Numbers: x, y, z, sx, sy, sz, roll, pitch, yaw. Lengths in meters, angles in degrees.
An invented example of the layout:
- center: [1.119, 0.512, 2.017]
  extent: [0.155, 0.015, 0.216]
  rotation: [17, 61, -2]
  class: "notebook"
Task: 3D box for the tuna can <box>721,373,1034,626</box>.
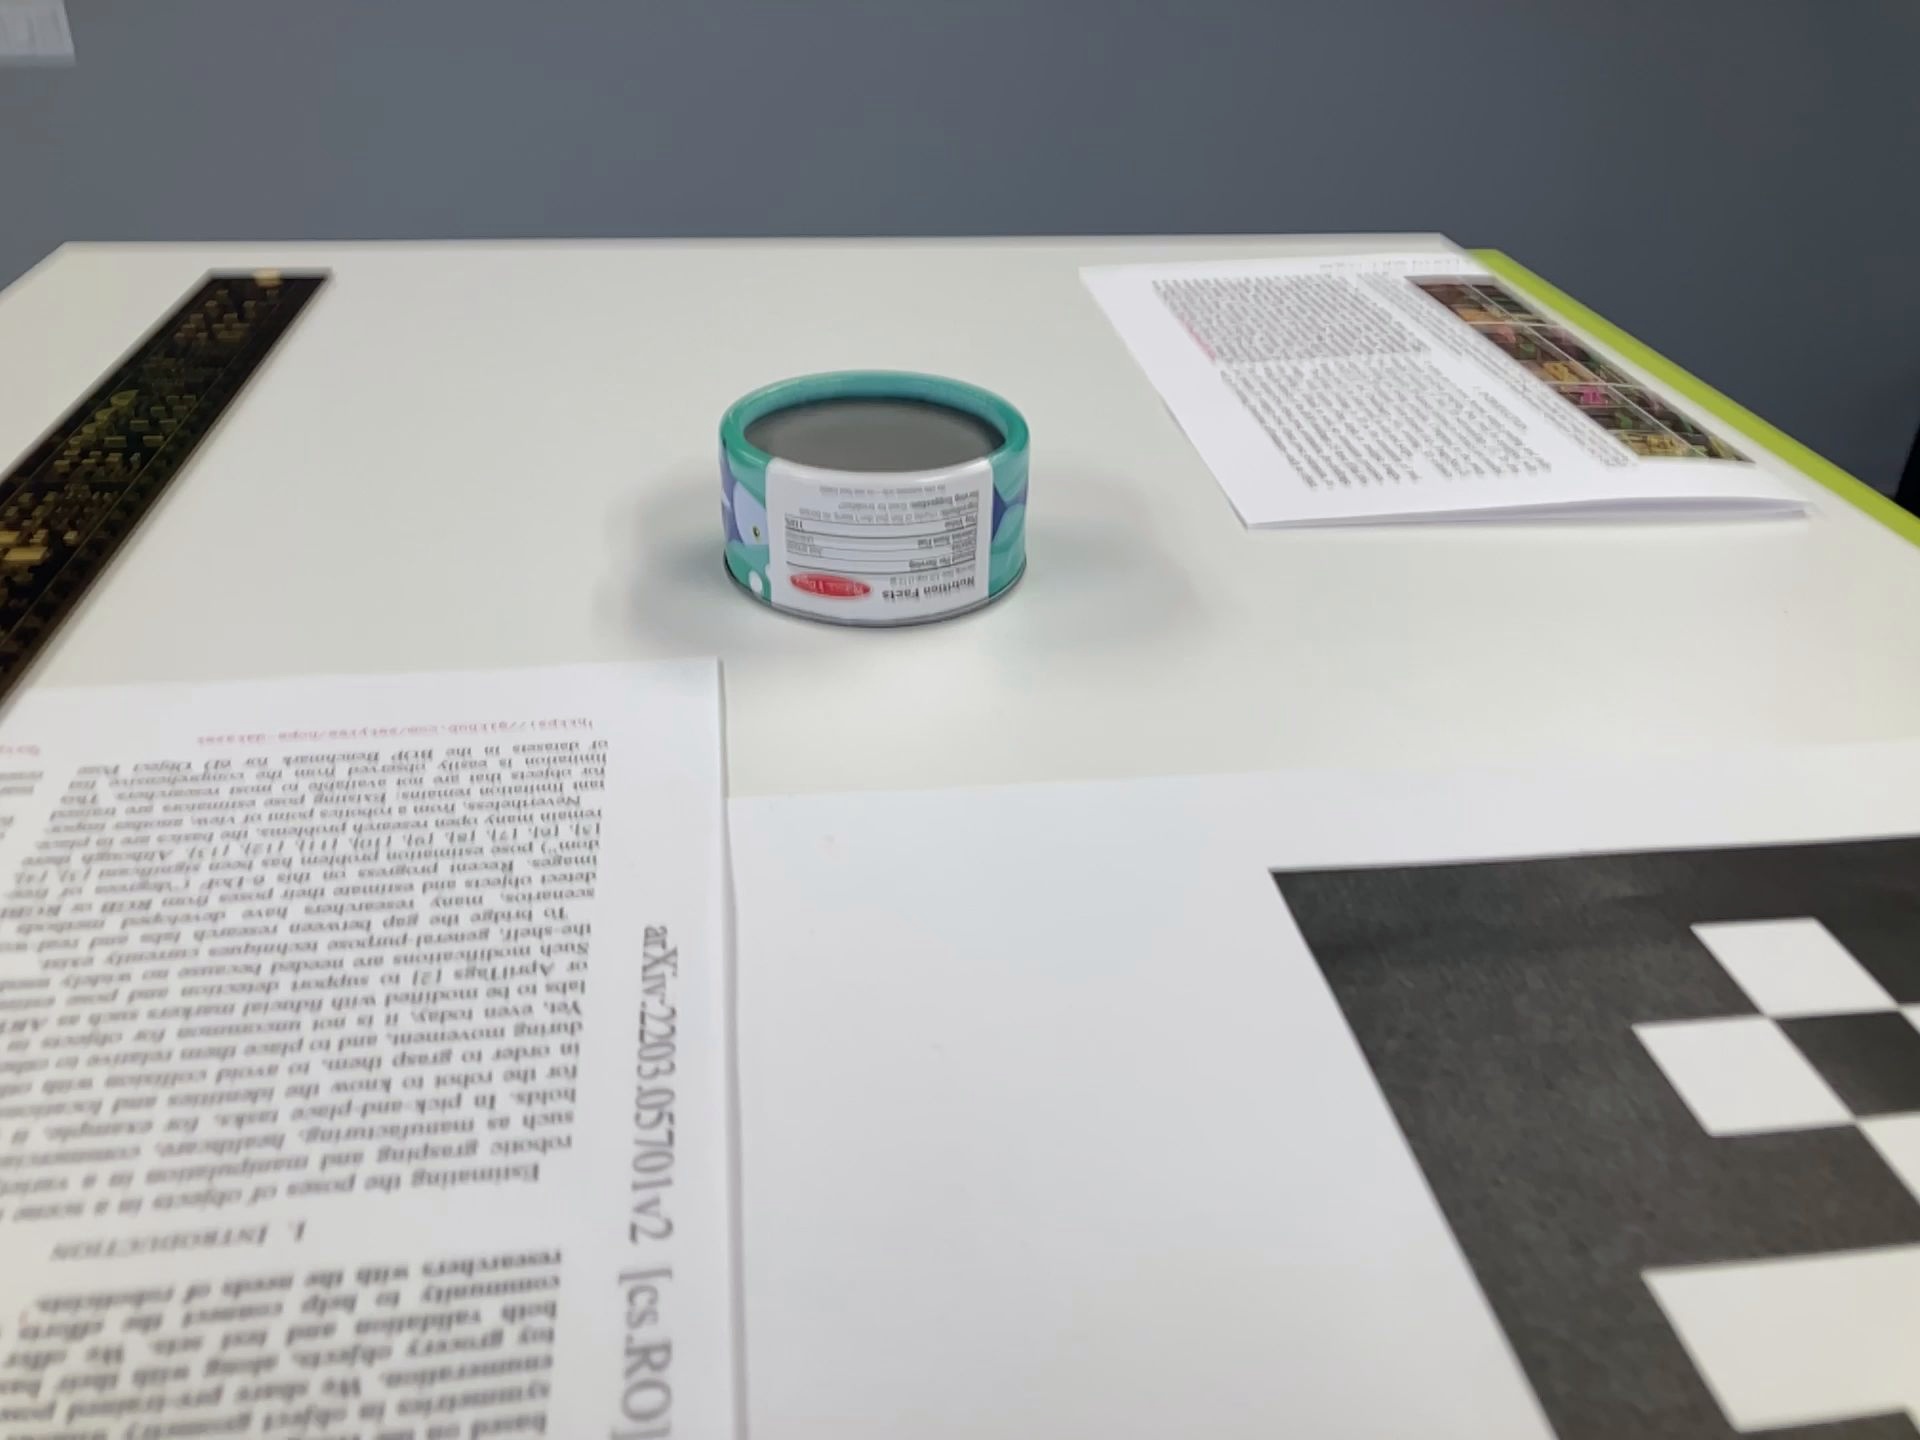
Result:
- center: [-0.018, -0.050, 0.341]
  extent: [0.071, 0.033, 0.071]
  rotation: [3, 30, -1]
  class: "tuna can"
